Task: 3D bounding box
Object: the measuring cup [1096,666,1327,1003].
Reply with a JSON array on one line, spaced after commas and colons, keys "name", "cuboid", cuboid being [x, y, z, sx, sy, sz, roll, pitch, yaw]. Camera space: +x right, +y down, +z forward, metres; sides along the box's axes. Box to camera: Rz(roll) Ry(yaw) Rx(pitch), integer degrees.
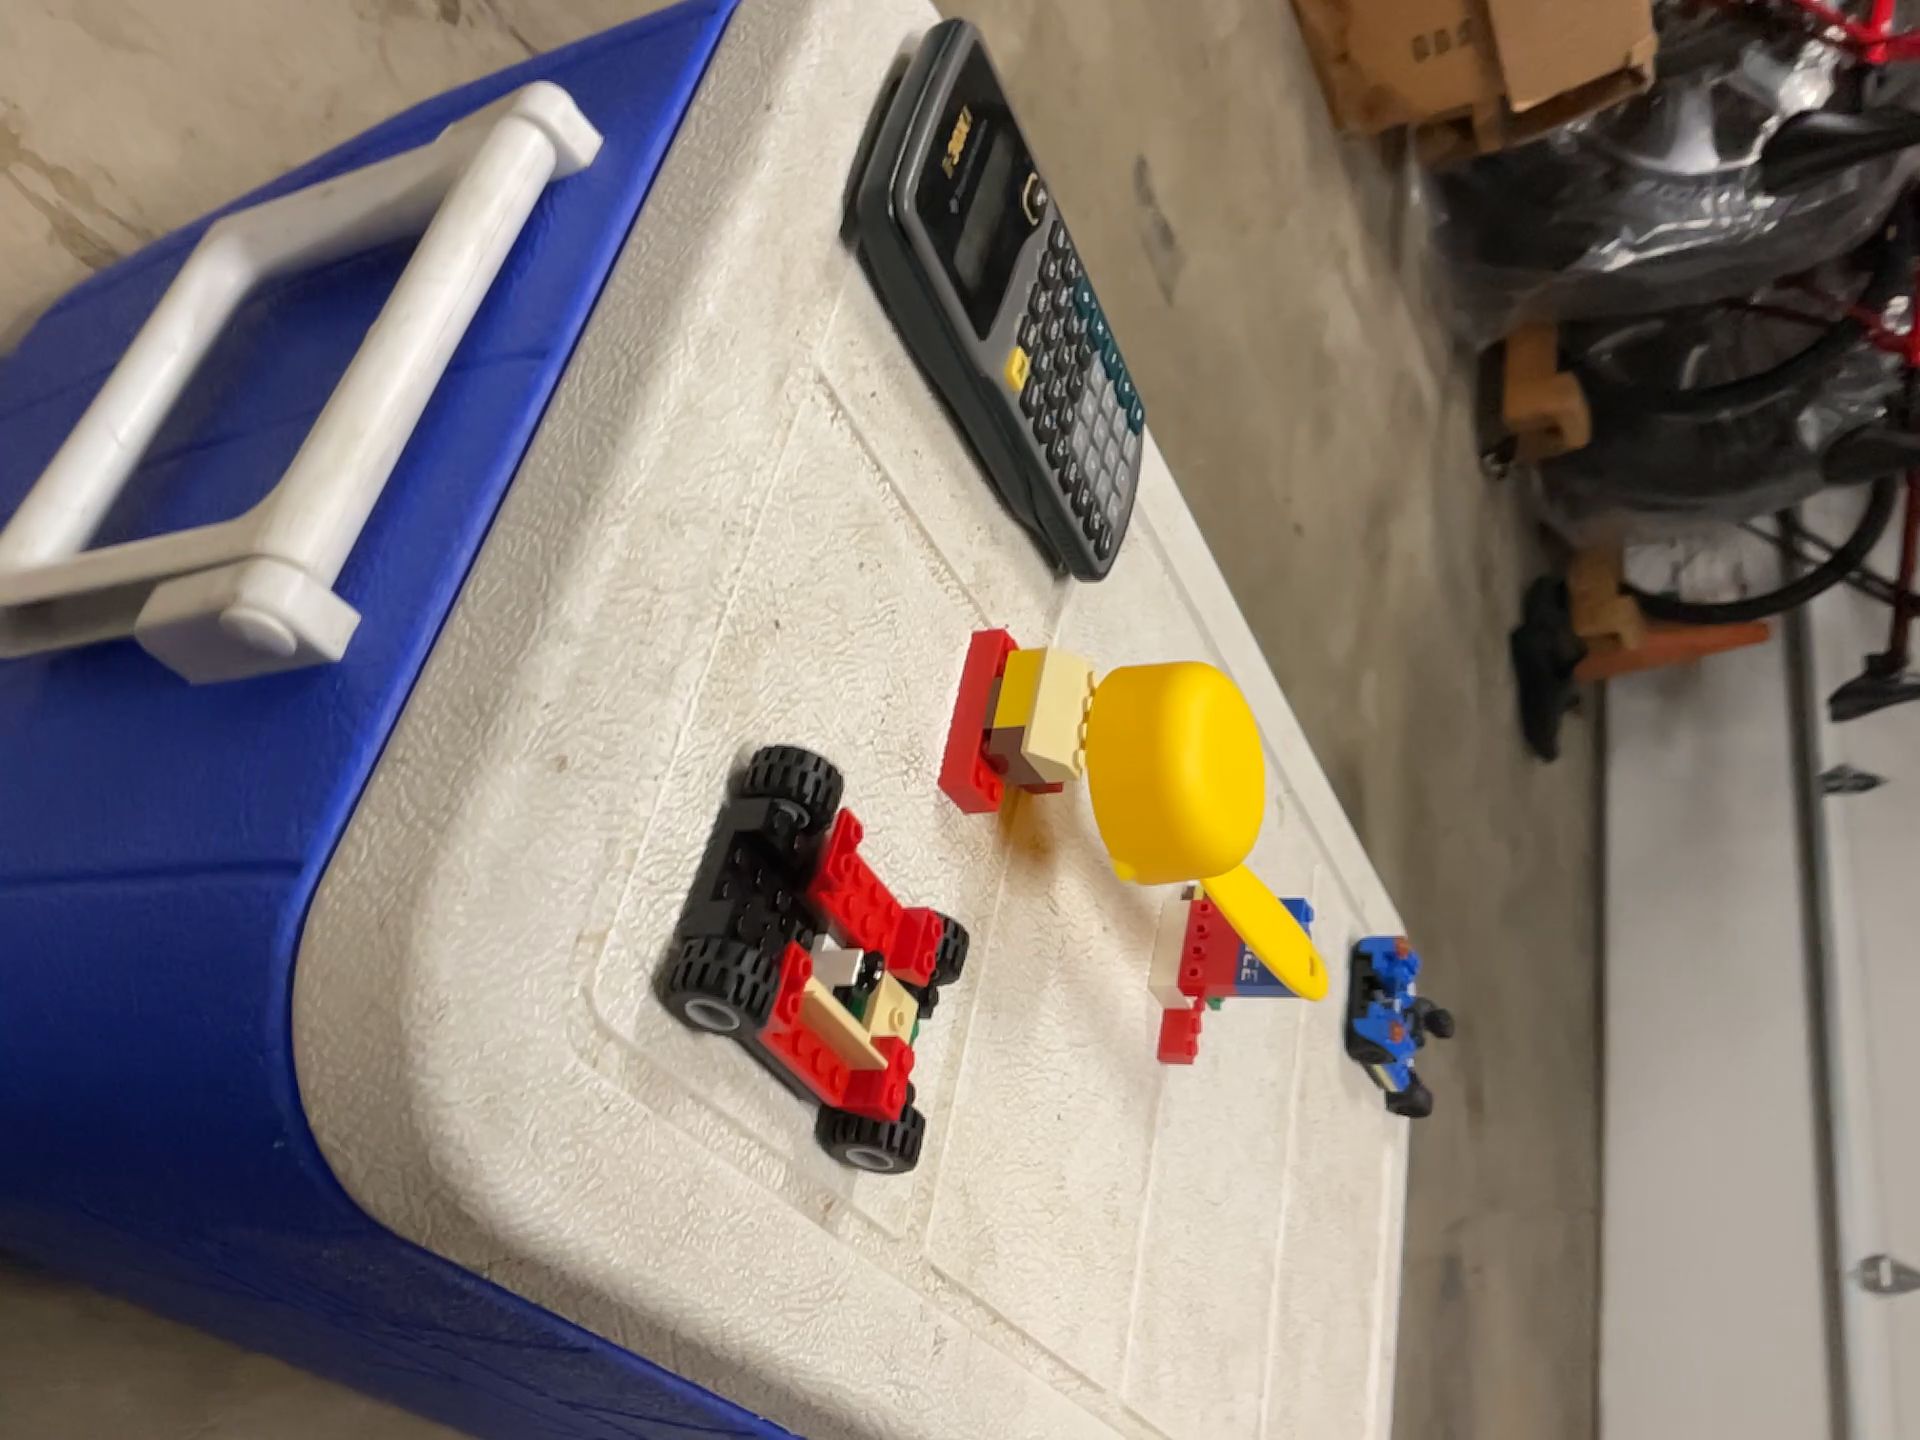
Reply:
[{"name": "measuring cup", "cuboid": [0.086, 0.041, 0.459, 0.156, 0.029, 0.062, 48, 45, -40]}]
